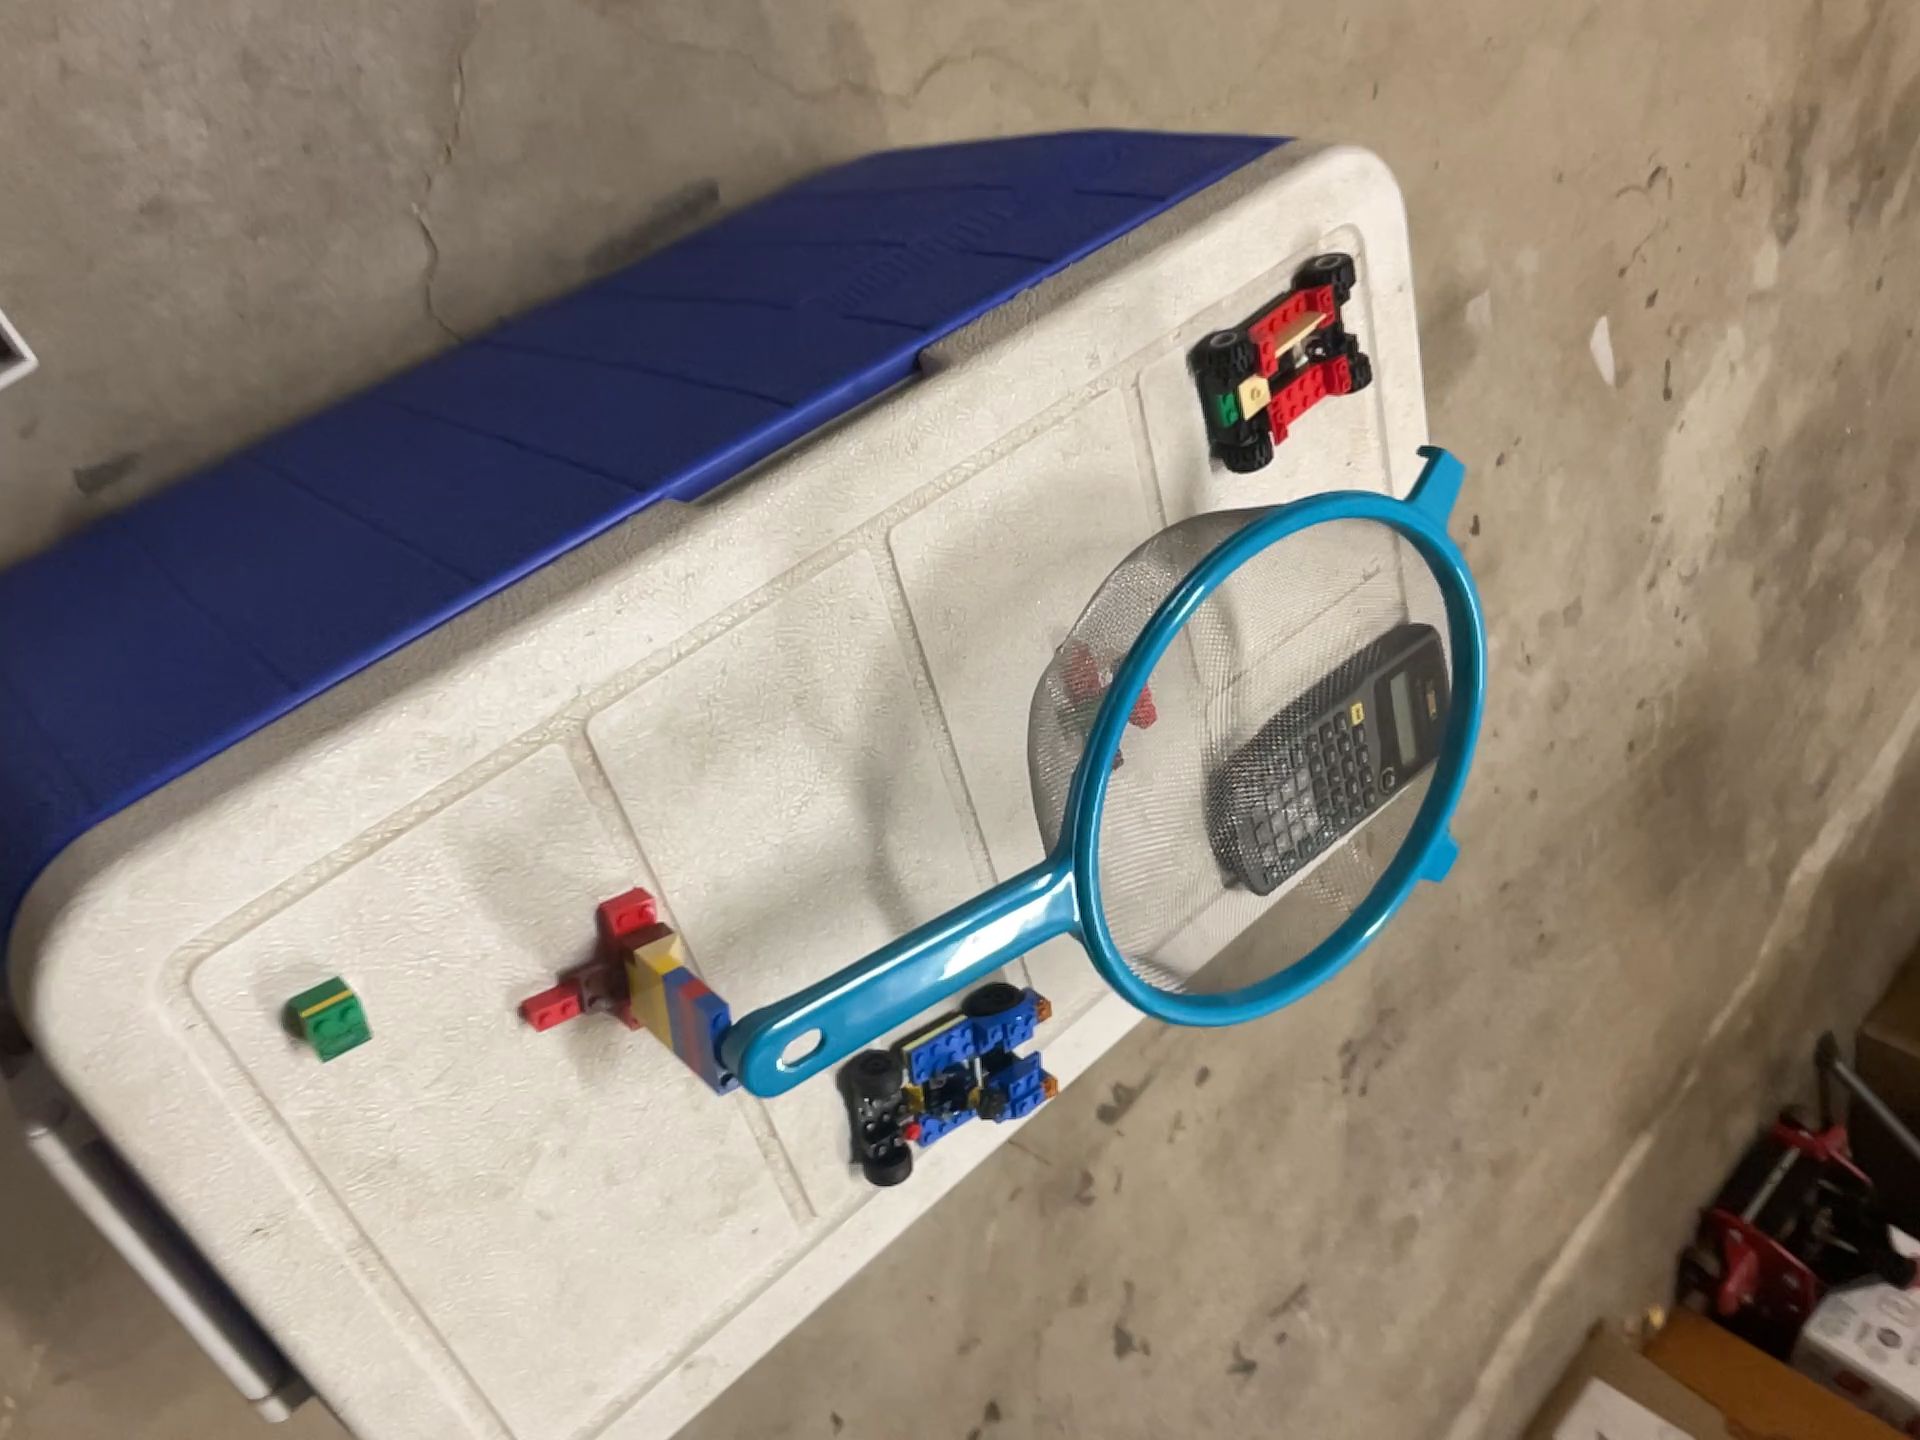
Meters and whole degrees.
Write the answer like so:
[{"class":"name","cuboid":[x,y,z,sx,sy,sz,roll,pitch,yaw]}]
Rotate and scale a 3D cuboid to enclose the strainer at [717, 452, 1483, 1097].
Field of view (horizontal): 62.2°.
[{"class":"strainer","cuboid":[0.047,0.031,0.595,0.340,0.095,0.210,-25,124,-25]}]
